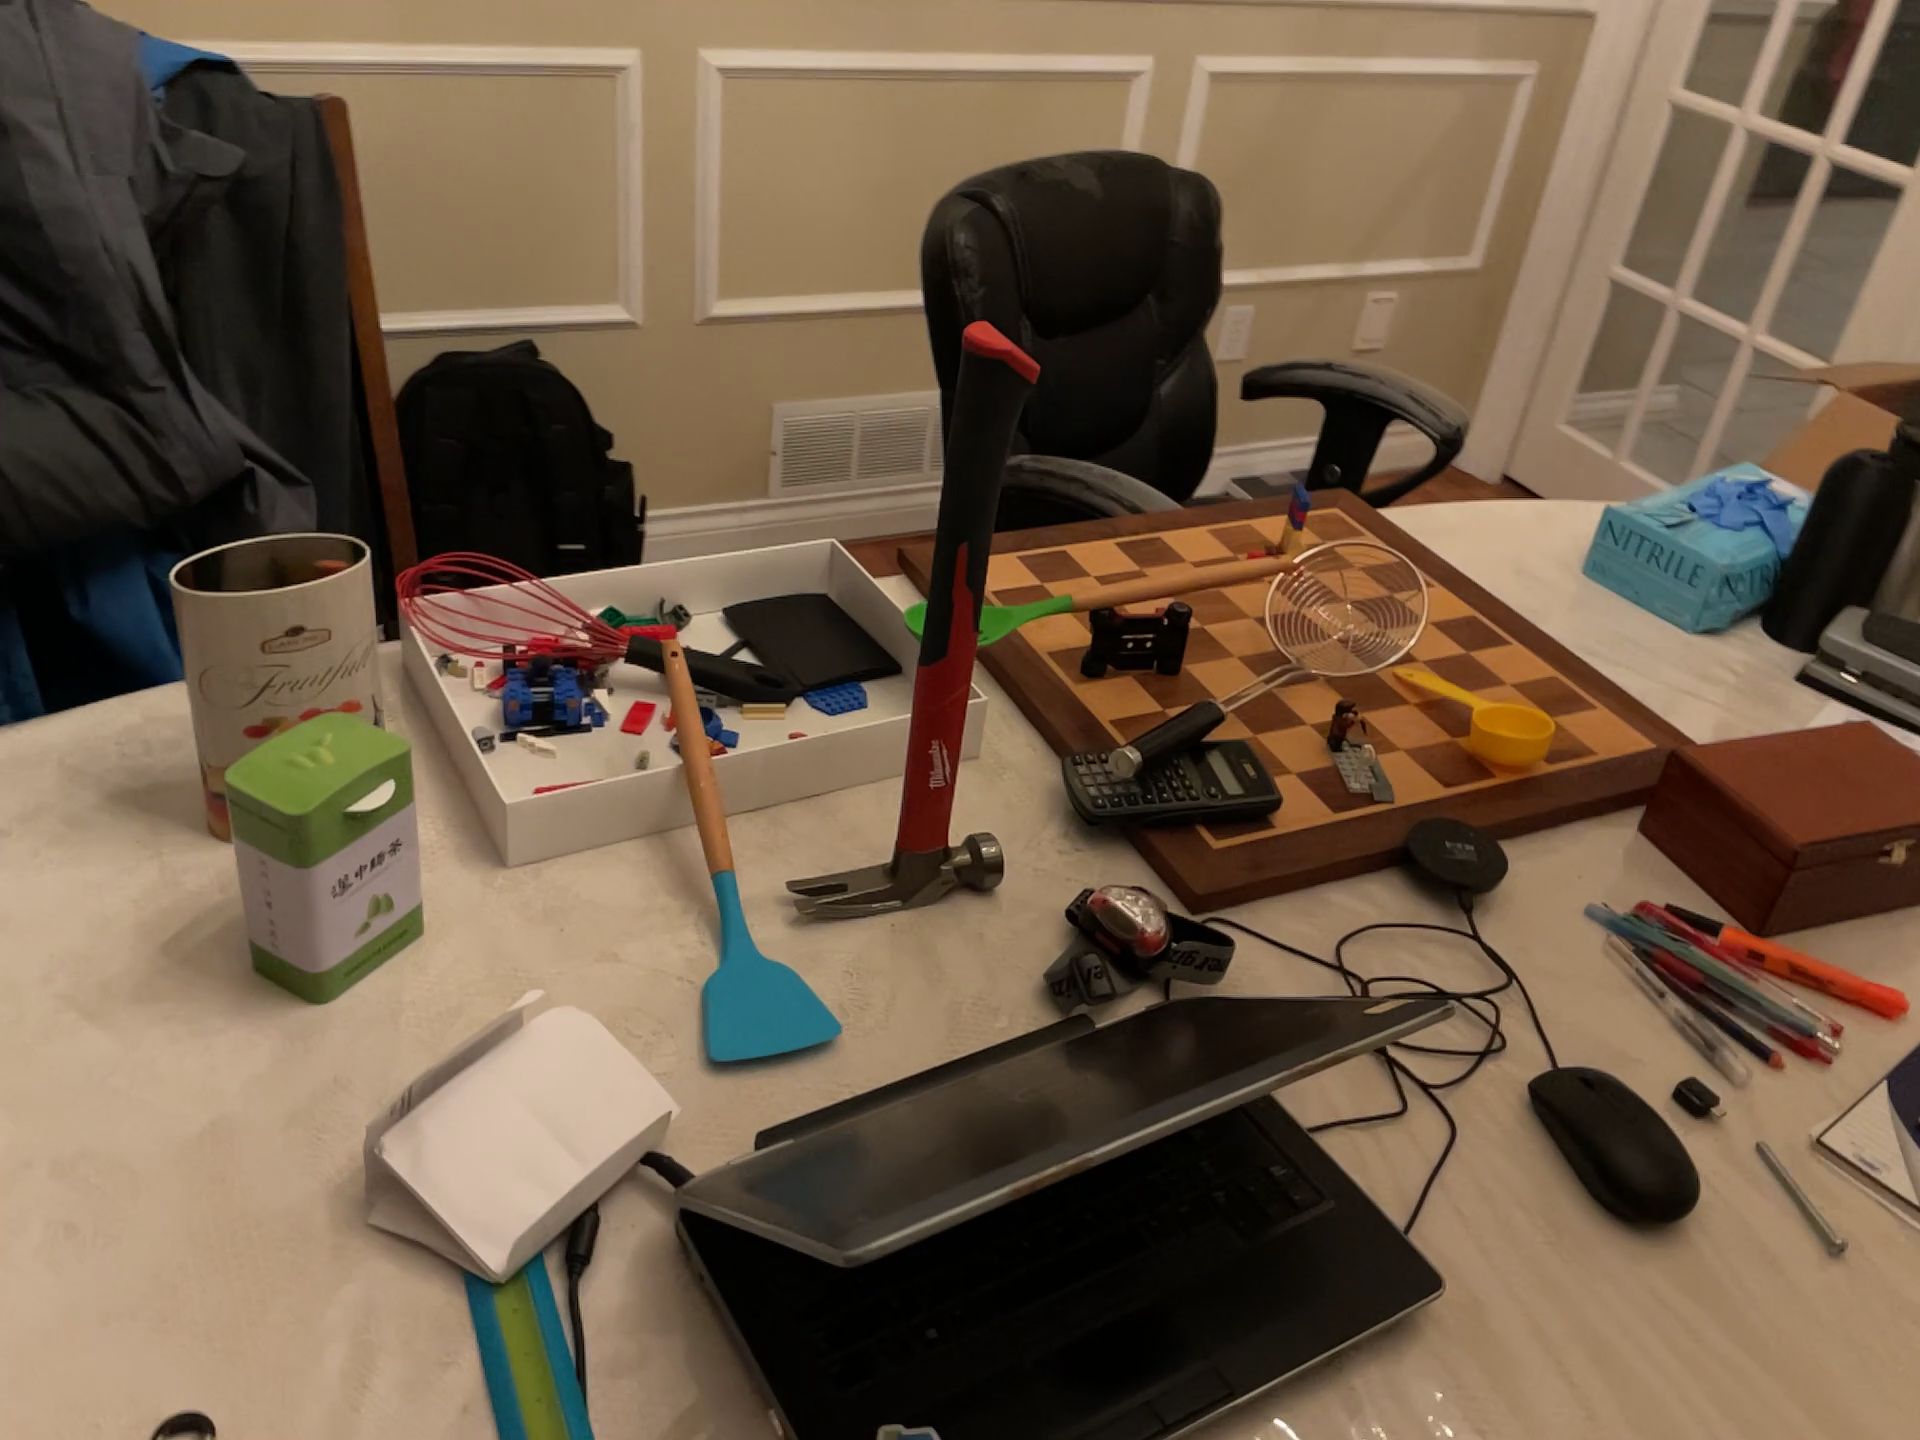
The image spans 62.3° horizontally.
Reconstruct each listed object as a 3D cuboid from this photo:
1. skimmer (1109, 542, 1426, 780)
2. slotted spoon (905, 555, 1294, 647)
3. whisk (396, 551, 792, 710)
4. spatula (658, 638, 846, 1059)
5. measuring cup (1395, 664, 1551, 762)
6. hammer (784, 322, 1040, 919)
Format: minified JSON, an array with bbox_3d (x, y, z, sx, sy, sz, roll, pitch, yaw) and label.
[{"bbox_3d":[0.230,-0.049,1.205,0.127,0.090,0.363,32,36,28],"label":"skimmer"},{"bbox_3d":[0.111,-0.094,1.225,0.313,0.031,0.070,-11,35,-11],"label":"slotted spoon"},{"bbox_3d":[-0.266,-0.058,1.172,0.295,0.073,0.073,17,51,-12],"label":"whisk"},{"bbox_3d":[-0.152,0.070,0.997,0.082,0.044,0.318,-8,58,-19],"label":"spatula"},{"bbox_3d":[0.397,-0.007,1.254,0.062,0.029,0.157,-13,27,-23],"label":"measuring cup"},{"bbox_3d":[-0.021,-0.042,0.931,0.143,0.386,0.038,-8,37,-23],"label":"hammer"}]
